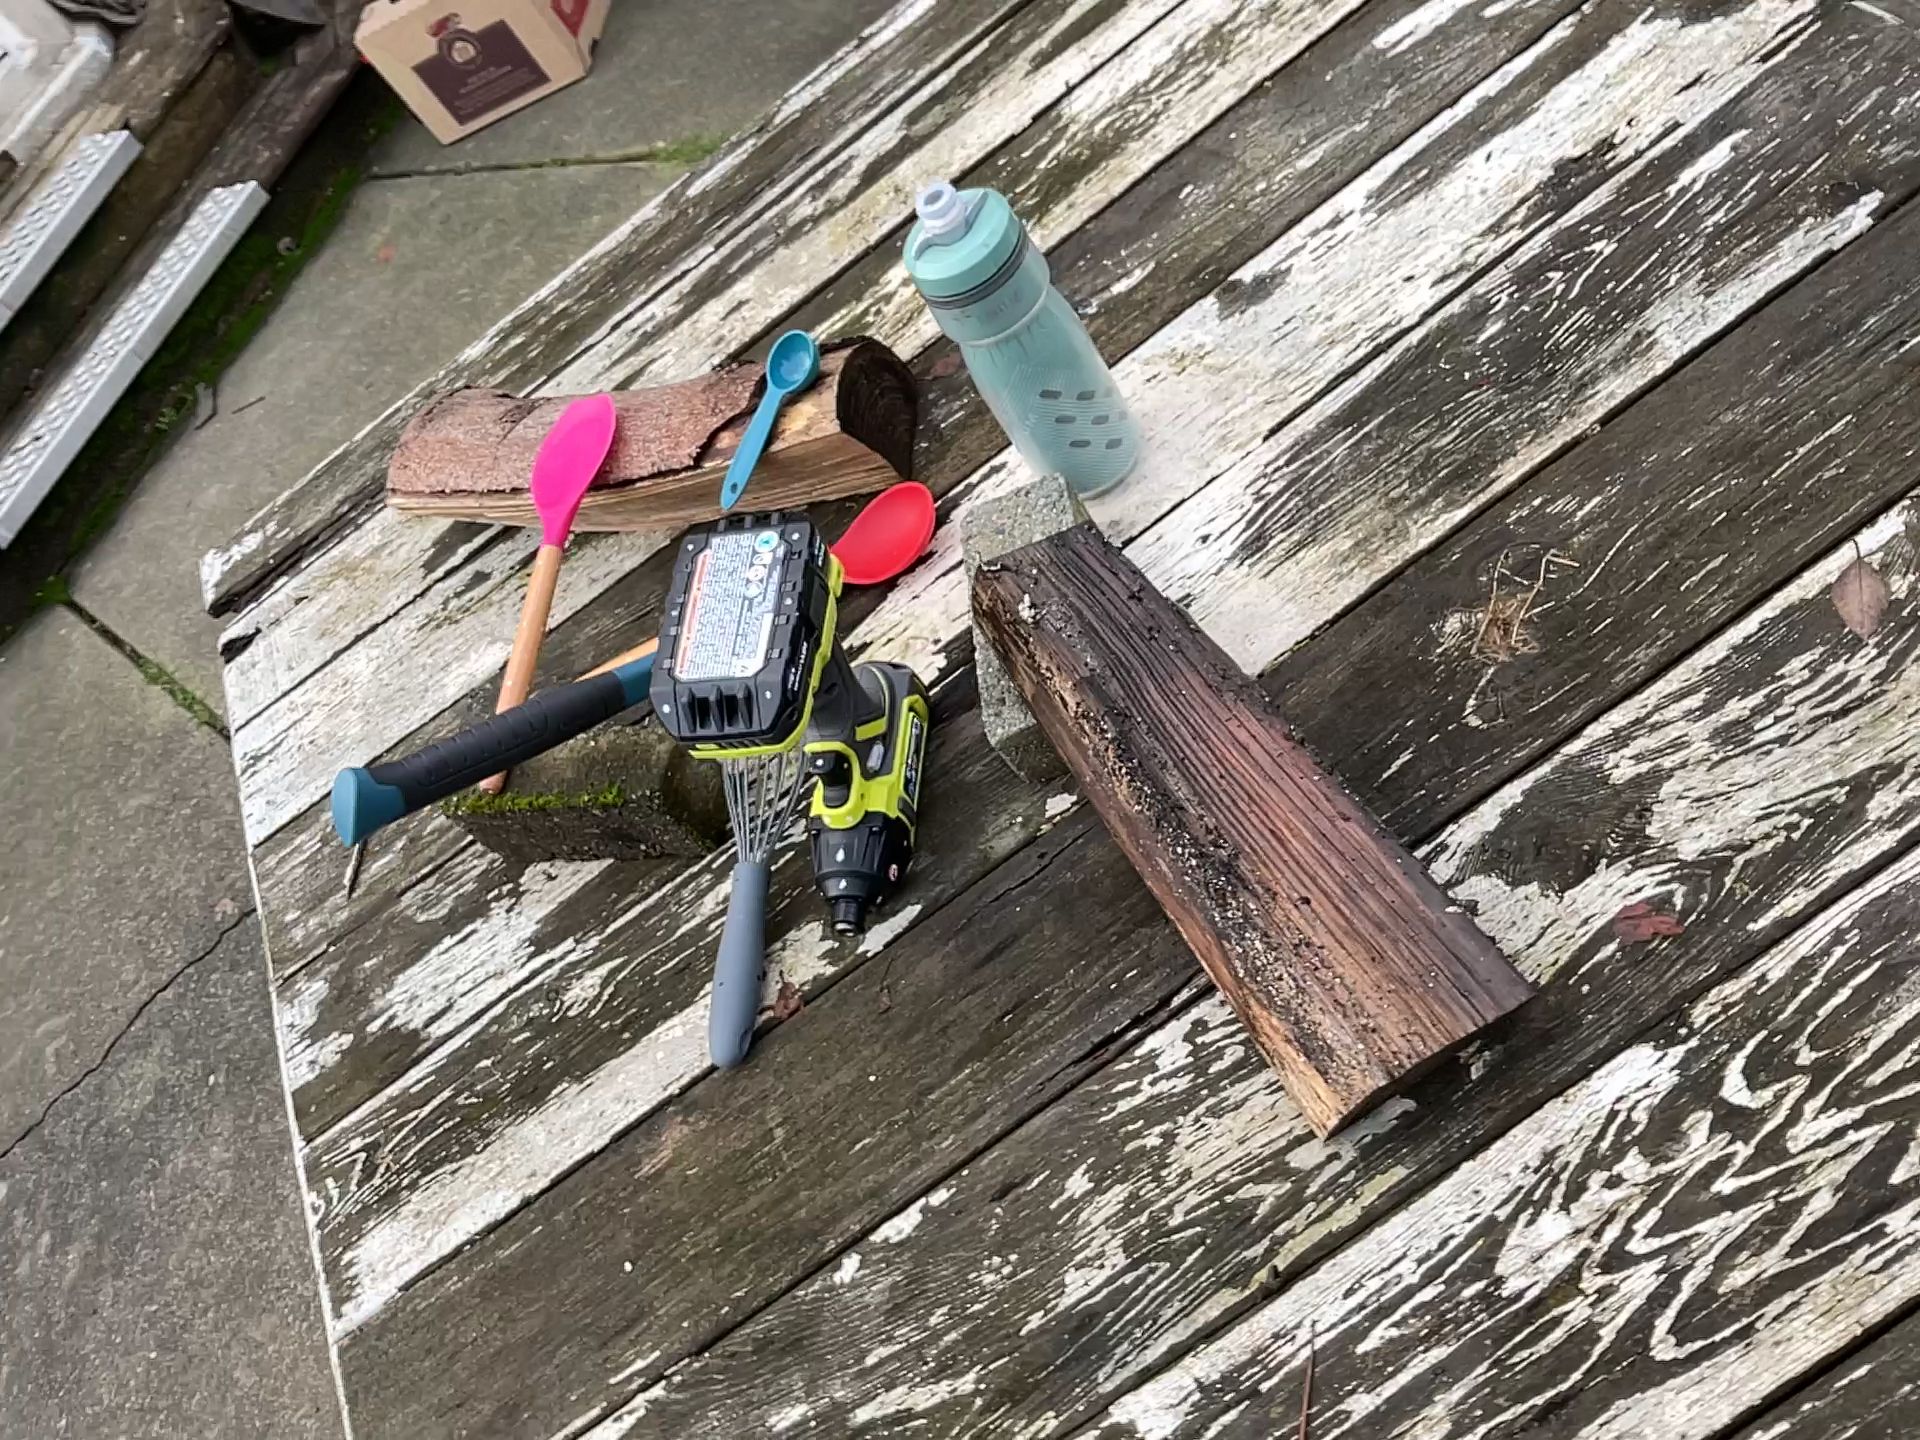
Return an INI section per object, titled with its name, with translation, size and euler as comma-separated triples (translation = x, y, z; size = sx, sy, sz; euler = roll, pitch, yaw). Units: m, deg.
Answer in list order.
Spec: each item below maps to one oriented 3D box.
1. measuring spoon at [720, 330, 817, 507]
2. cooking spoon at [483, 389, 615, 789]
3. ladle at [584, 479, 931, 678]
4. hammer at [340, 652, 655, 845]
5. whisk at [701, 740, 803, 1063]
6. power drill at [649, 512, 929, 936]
[measuring spoon]
translation = -0.129, -0.201, 1.083
size = 0.042, 0.021, 0.128
euler = 32, 101, 41
[cooking spoon]
translation = -0.287, -0.099, 1.102
size = 0.069, 0.017, 0.319
euler = -8, 60, 25
[ladle]
translation = -0.152, -0.079, 1.117
size = 0.315, 0.031, 0.069
euler = -25, 52, 17
[hammer]
translation = -0.224, -0.014, 0.981
size = 0.331, 0.128, 0.033
euler = -28, 37, -33
[whisk]
translation = -0.132, 0.091, 0.967
size = 0.055, 0.055, 0.239
euler = -16, 55, 31
[power drill]
translation = -0.081, 0.005, 0.885
size = 0.080, 0.222, 0.171
euler = -5, 58, 19
